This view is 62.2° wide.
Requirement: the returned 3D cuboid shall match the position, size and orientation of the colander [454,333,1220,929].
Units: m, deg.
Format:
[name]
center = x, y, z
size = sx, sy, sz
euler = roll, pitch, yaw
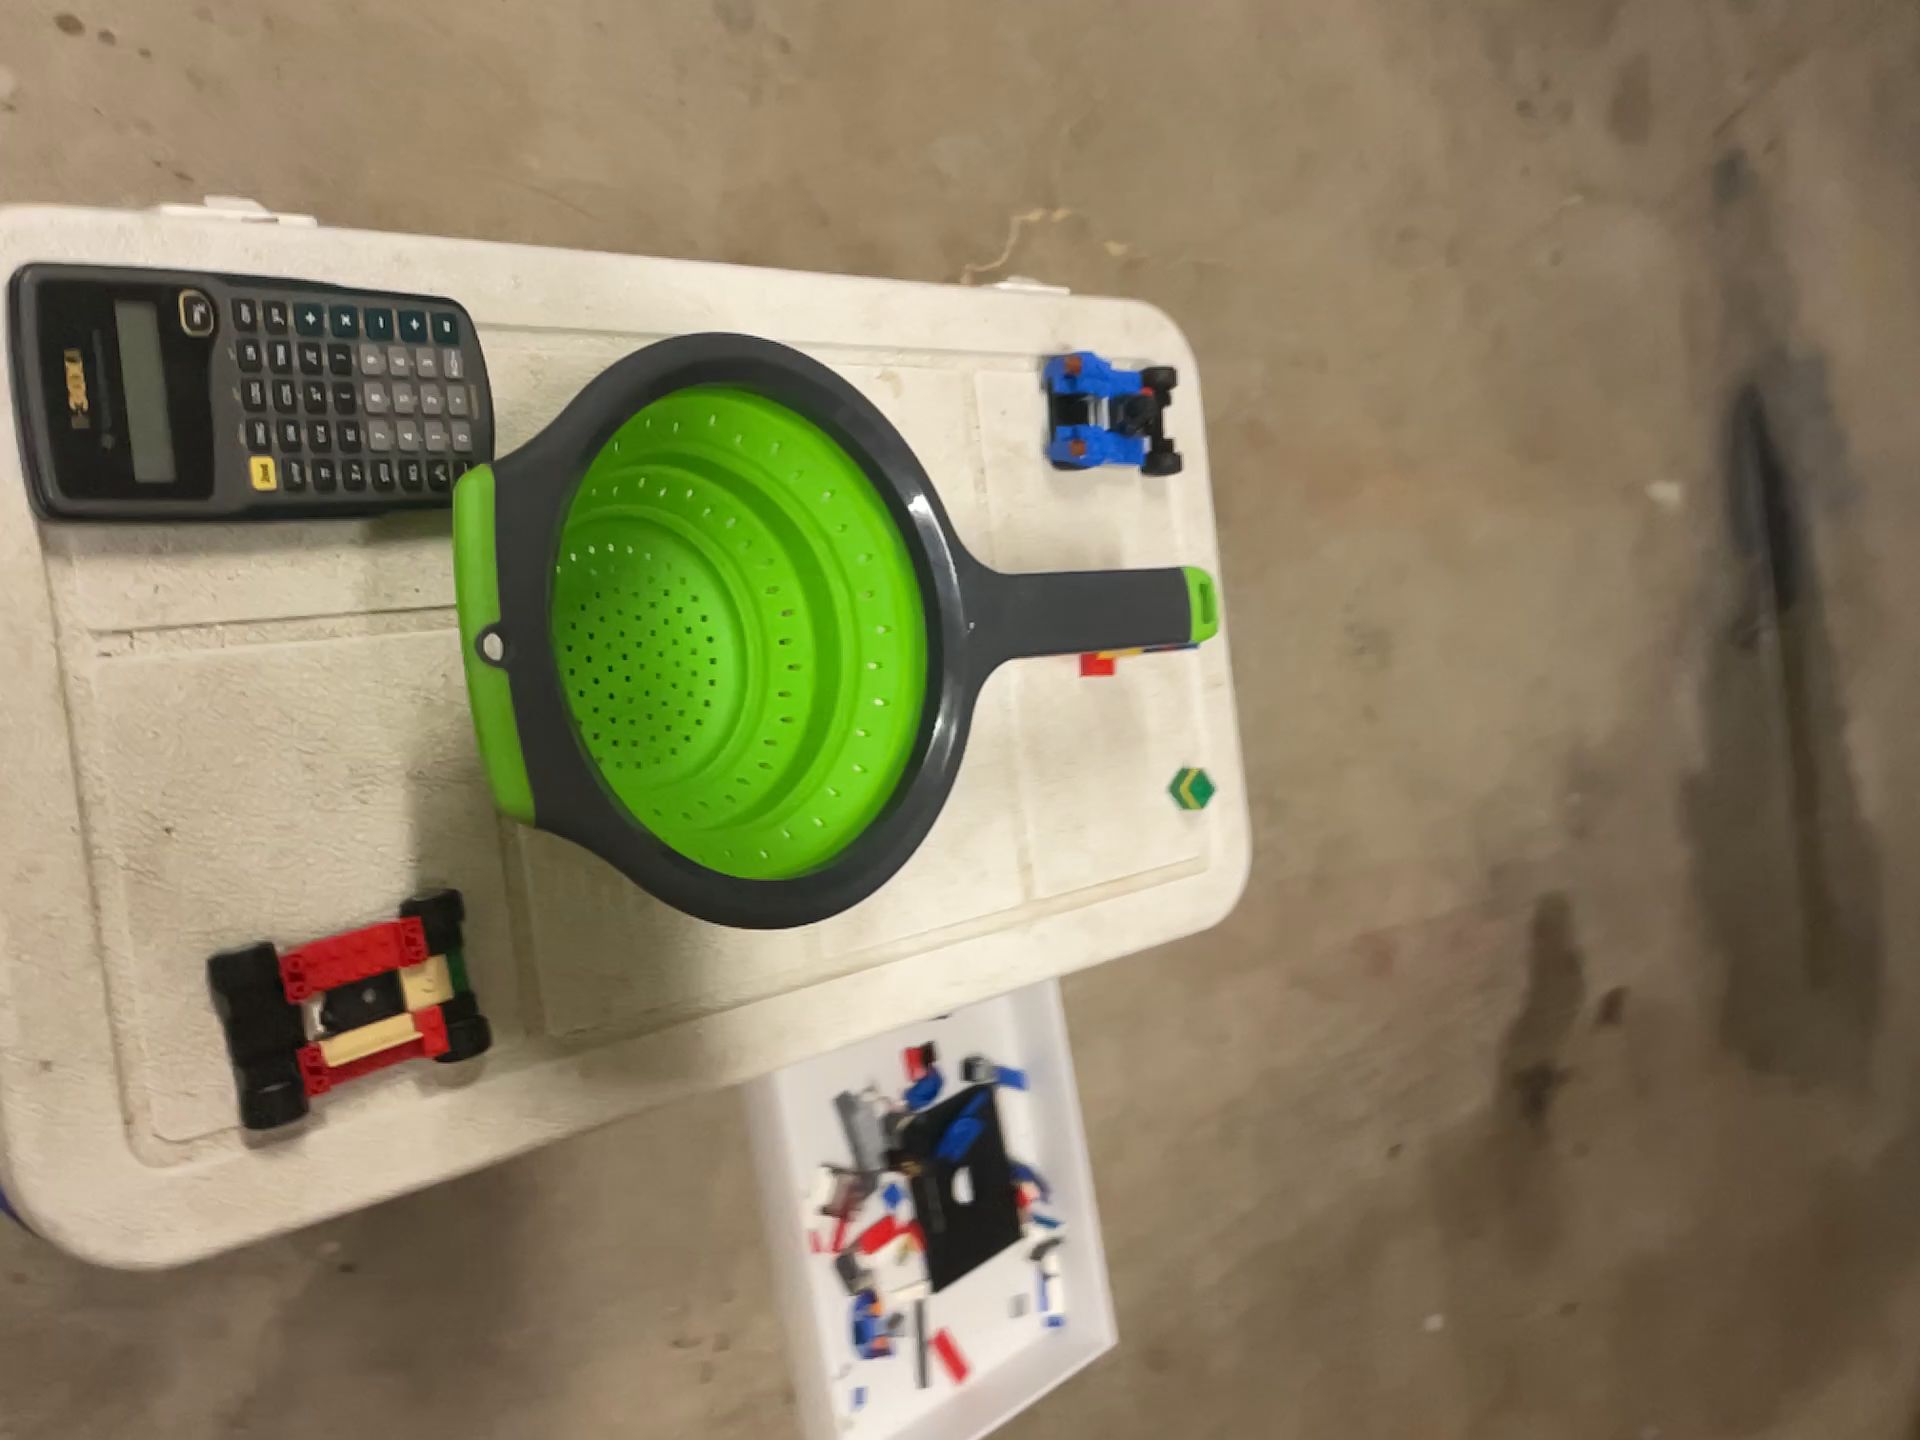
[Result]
[colander]
center = -0.038, -0.034, 0.636
size = 0.397, 0.094, 0.204
euler = -7, 89, -47
